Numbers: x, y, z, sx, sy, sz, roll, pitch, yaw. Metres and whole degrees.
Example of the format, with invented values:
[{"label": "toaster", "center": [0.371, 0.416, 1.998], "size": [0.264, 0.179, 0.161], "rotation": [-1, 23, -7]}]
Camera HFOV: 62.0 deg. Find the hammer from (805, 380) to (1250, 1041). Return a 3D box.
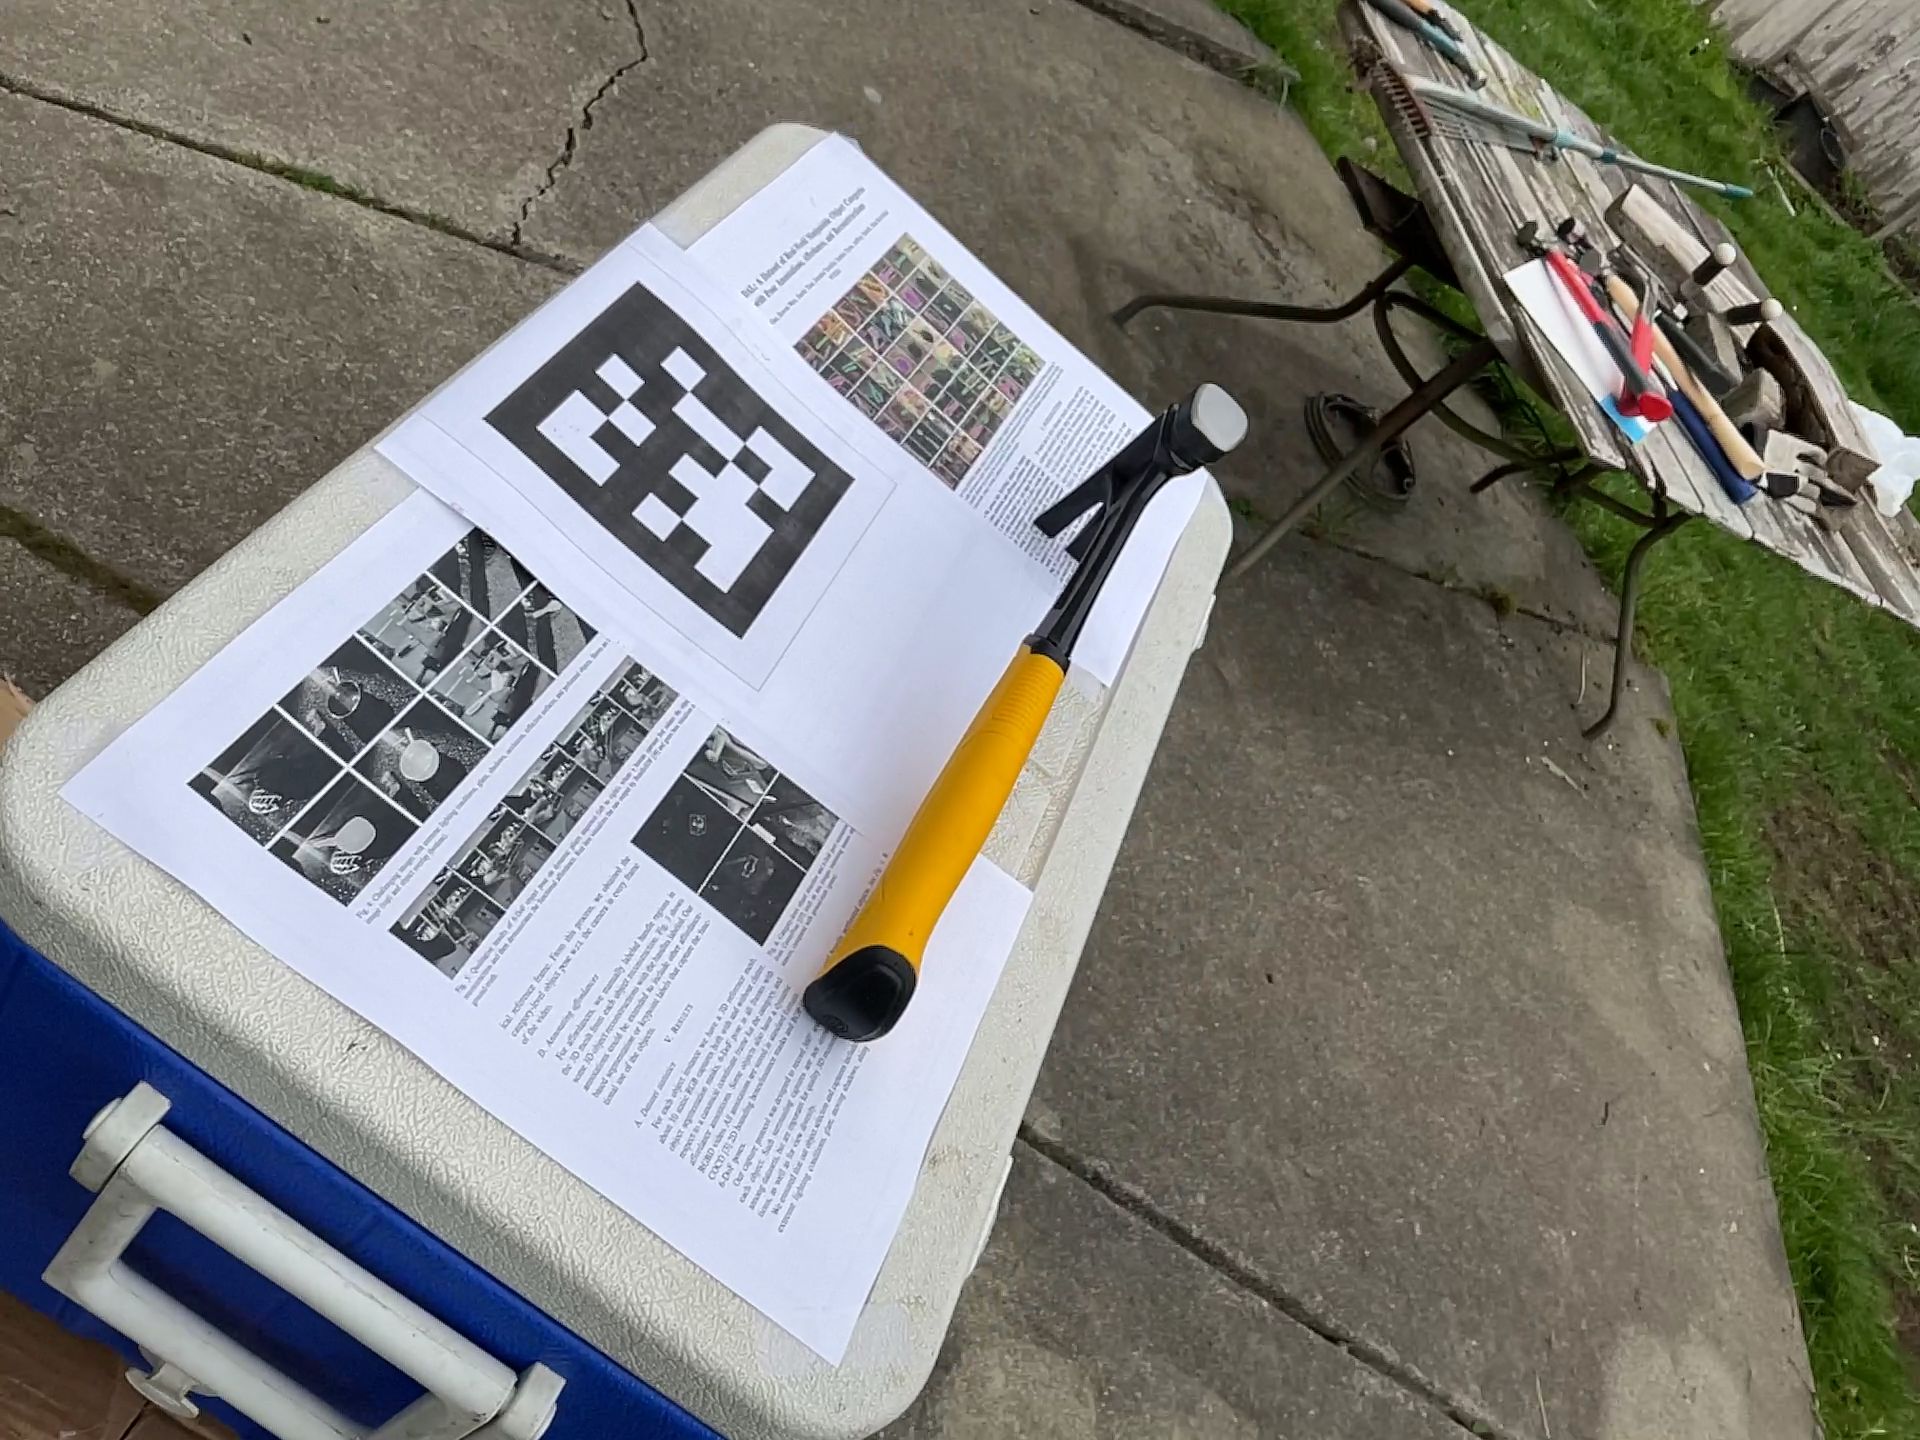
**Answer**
[{"label": "hammer", "center": [0.023, -0.009, 0.653], "size": [0.034, 0.127, 0.337], "rotation": [40, 51, -12]}]
